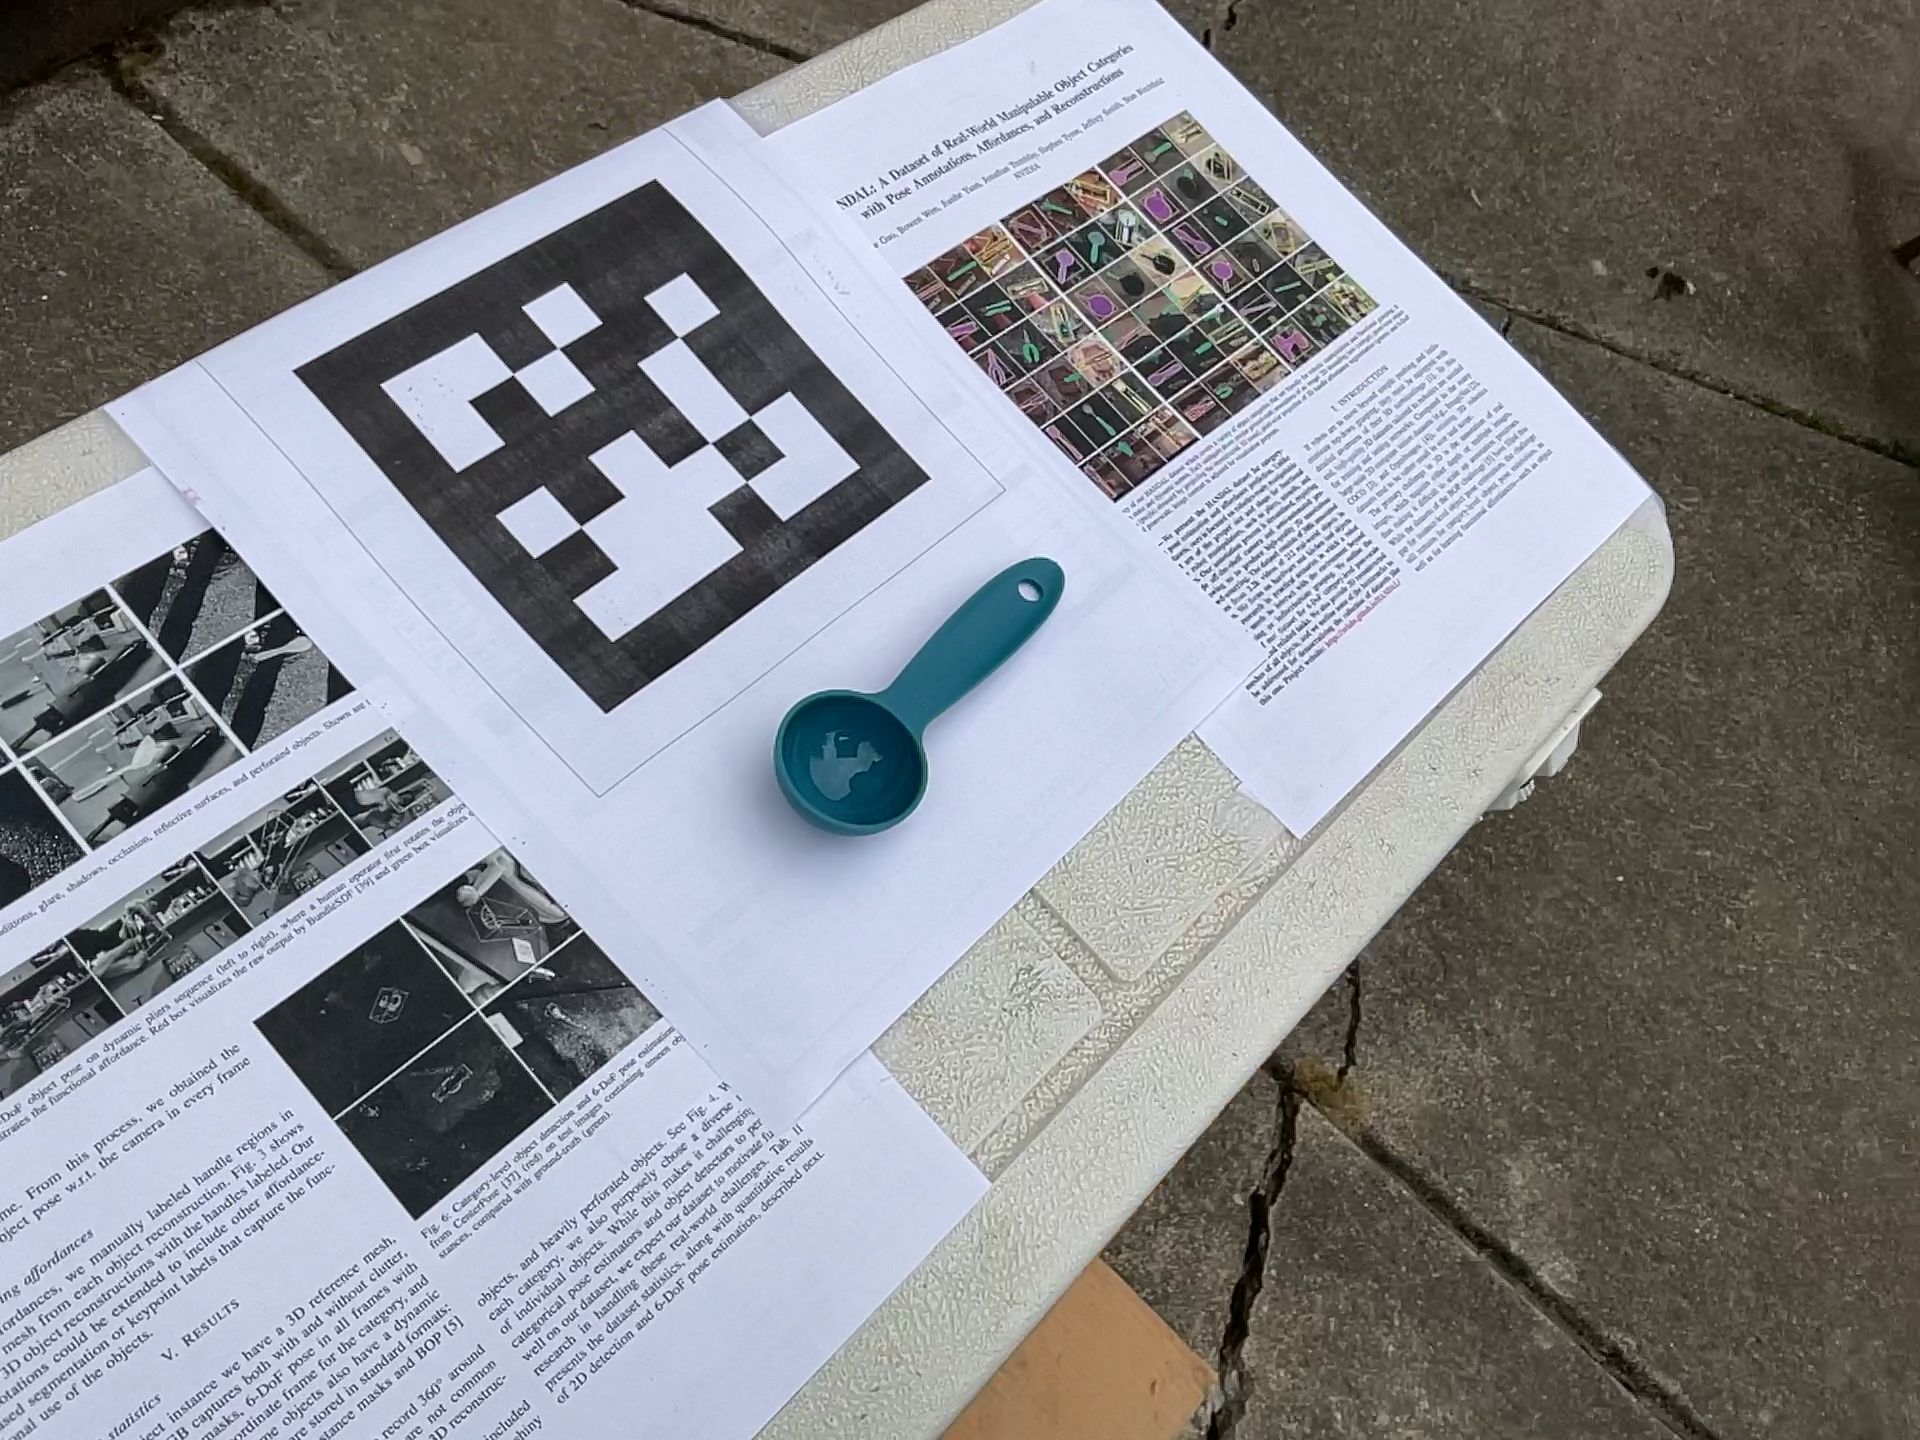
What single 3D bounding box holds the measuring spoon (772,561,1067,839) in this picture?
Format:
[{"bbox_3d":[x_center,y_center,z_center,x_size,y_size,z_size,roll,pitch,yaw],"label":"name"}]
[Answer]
[{"bbox_3d":[-0.008,-0.008,0.457,0.042,0.021,0.129,43,50,4],"label":"measuring spoon"}]
